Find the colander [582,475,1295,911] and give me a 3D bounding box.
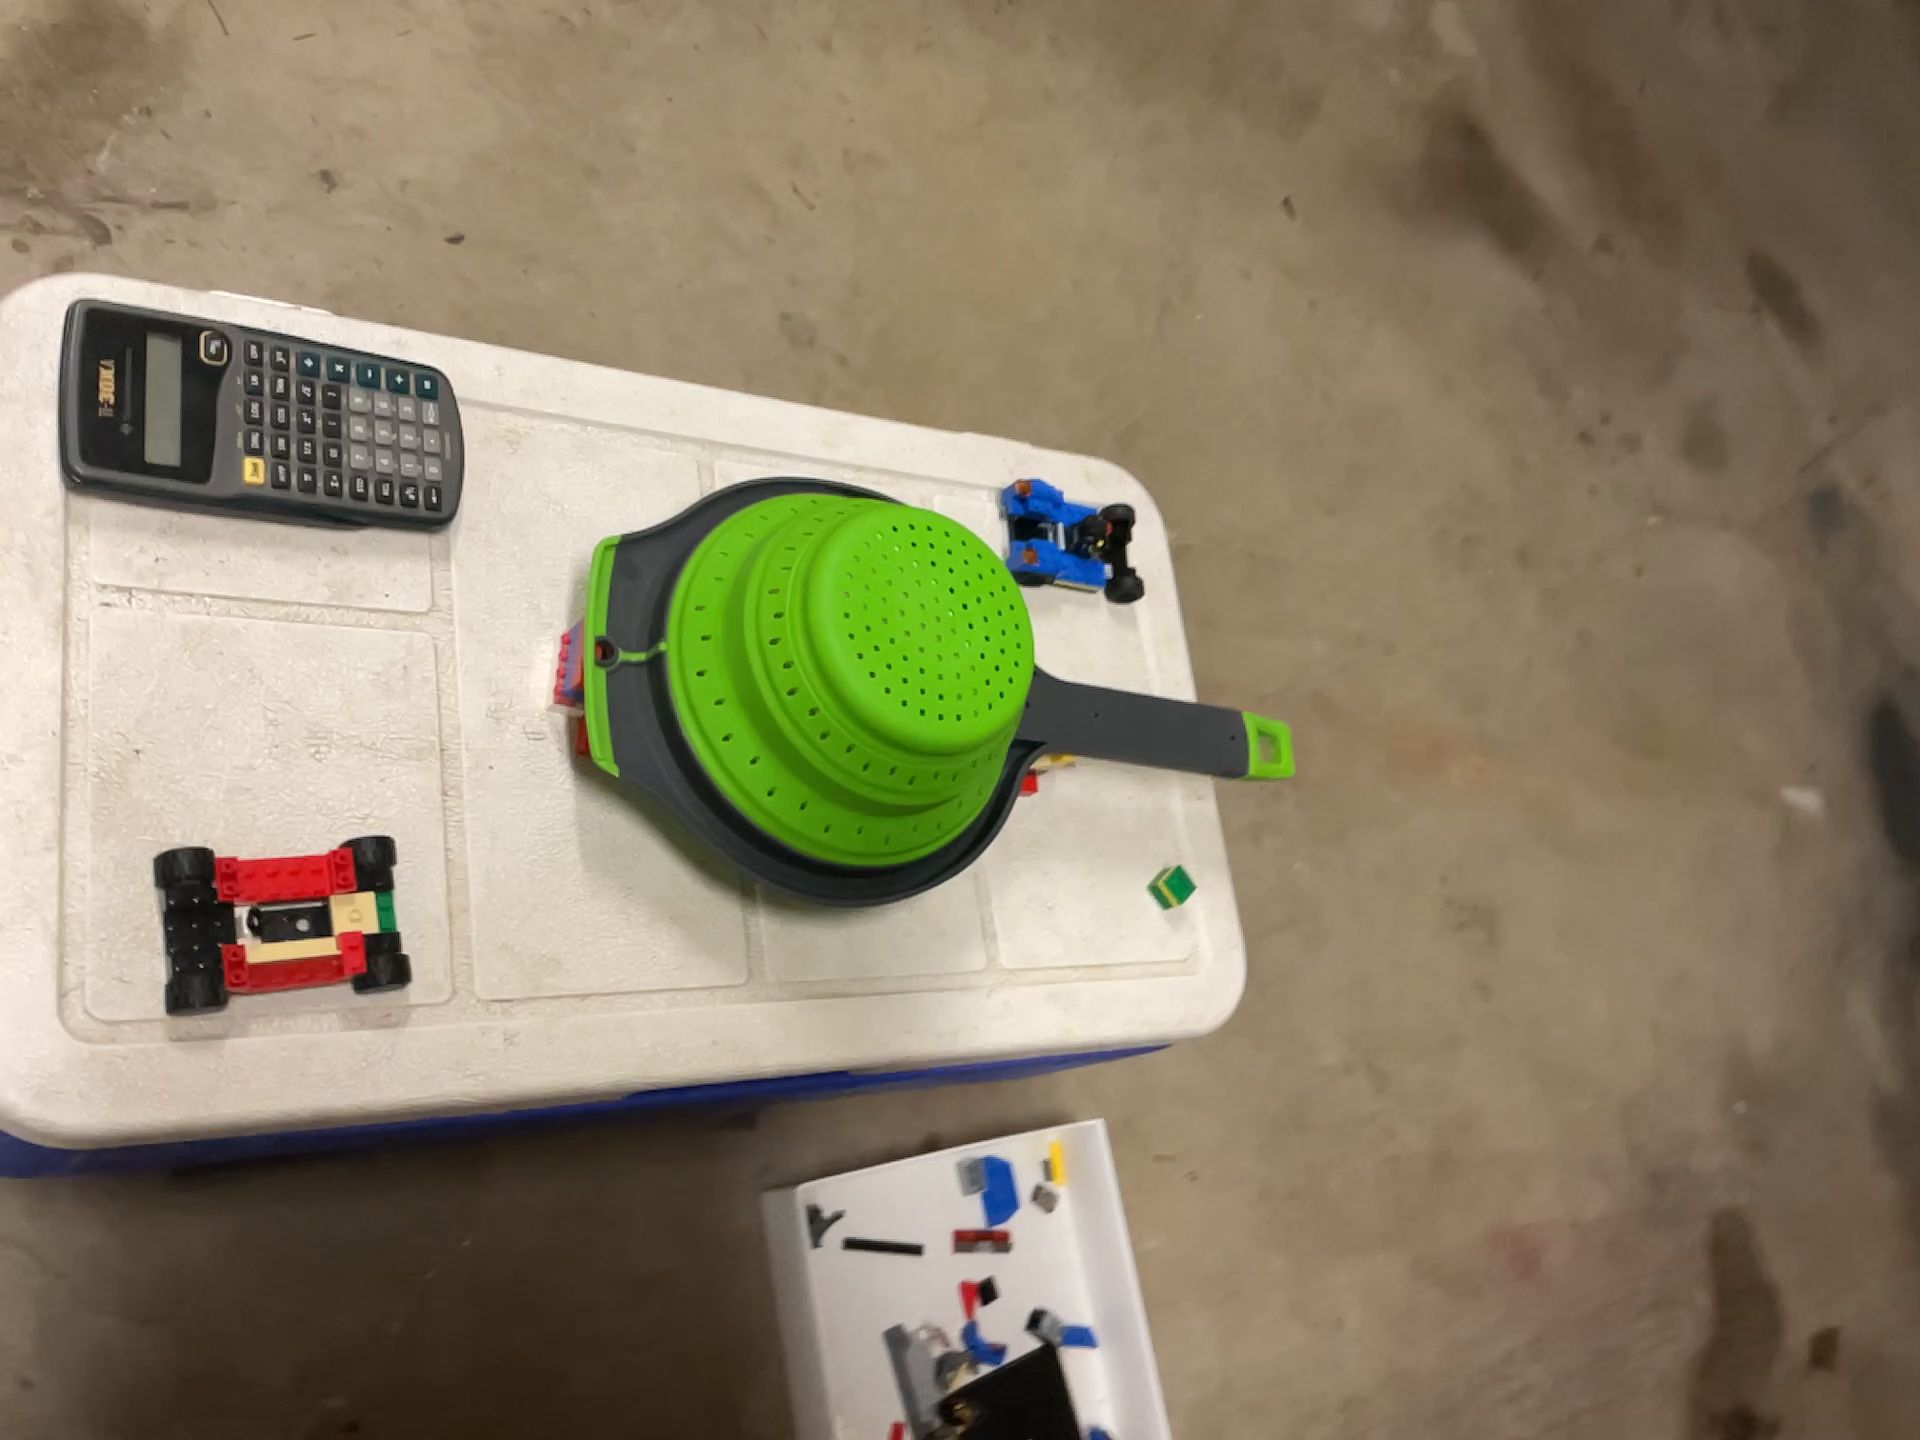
[{"bbox_3d":[0.032,-0.017,0.730,0.397,0.094,0.205,8,68,-33],"label":"colander"}]
